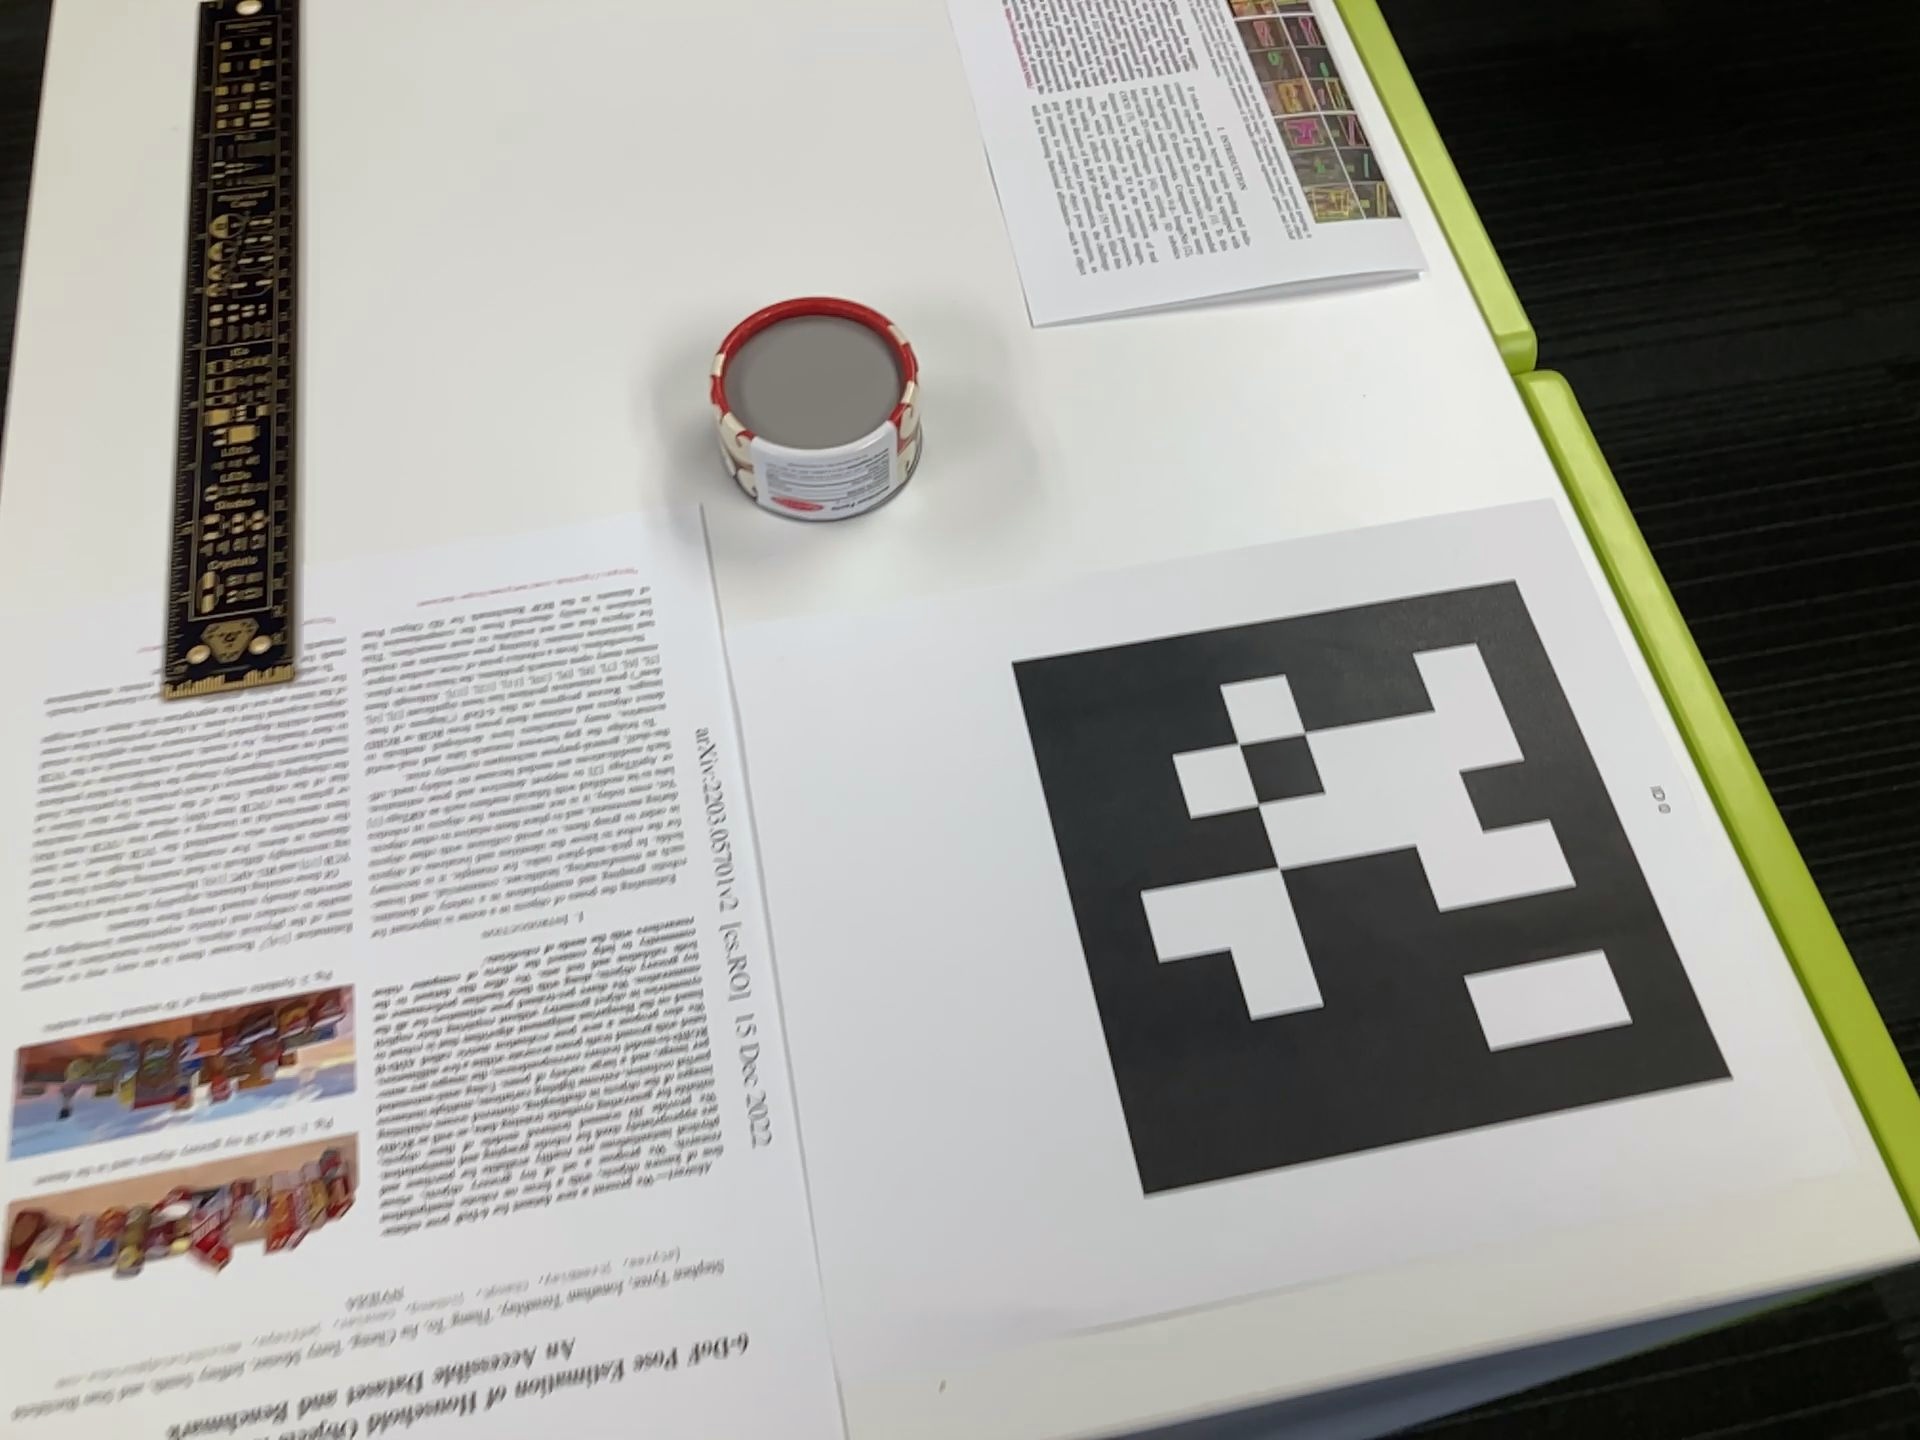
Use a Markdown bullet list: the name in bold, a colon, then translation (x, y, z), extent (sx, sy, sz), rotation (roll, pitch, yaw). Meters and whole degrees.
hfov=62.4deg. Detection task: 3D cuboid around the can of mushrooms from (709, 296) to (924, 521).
- **can of mushrooms**: translation (-0.045, -0.101, 0.503), extent (0.071, 0.033, 0.071), rotation (0, 61, 0)
